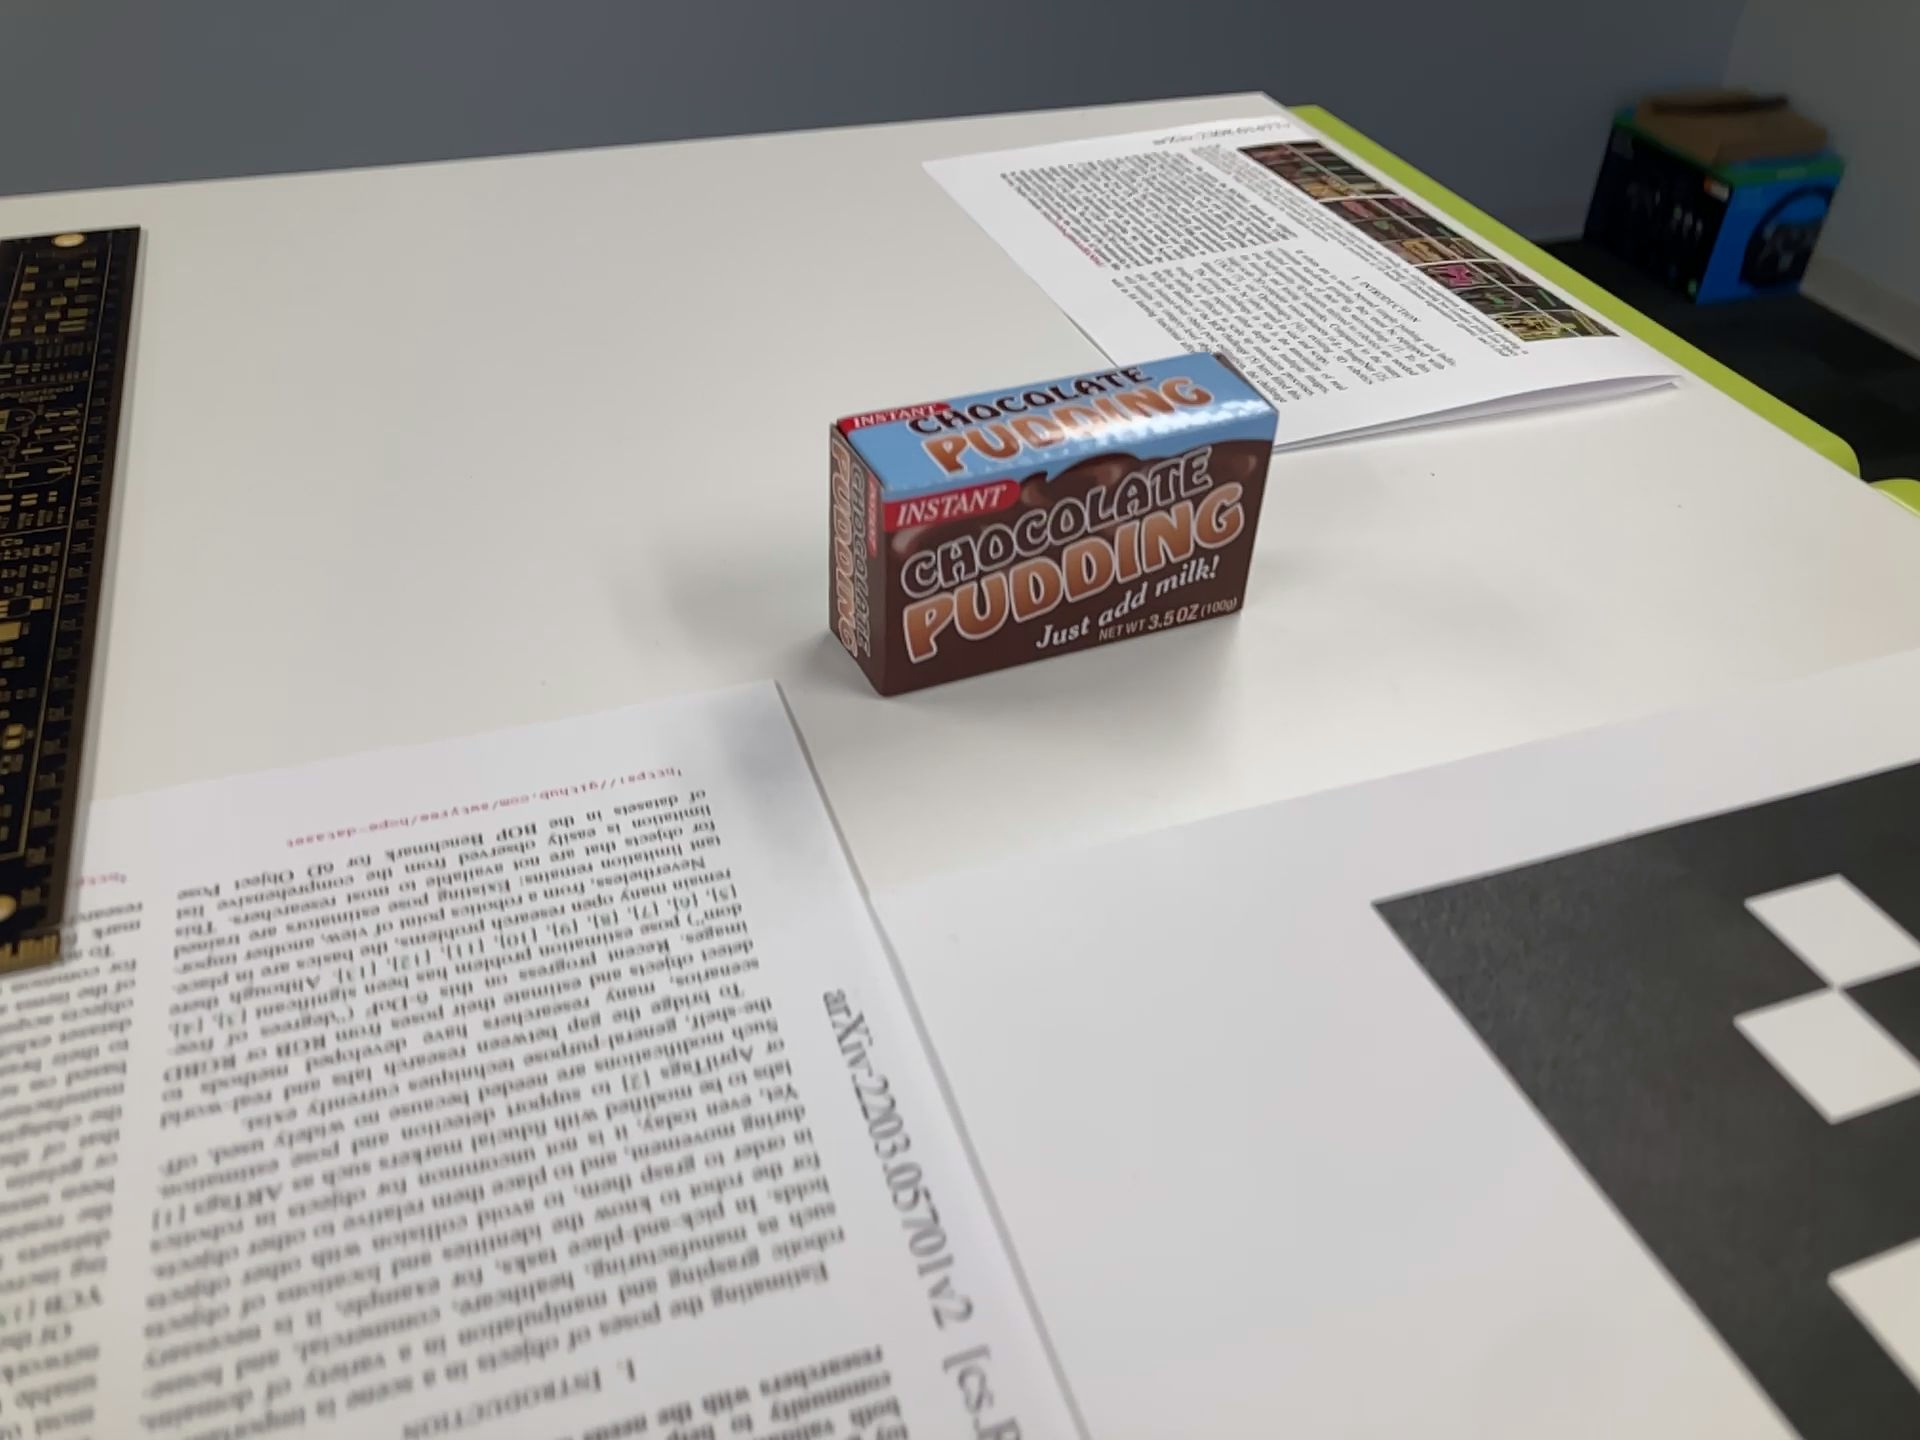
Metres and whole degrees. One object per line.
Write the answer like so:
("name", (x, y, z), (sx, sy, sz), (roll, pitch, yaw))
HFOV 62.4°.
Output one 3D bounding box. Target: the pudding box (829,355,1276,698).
("pudding box", (0.017, -0.040, 0.313), (0.083, 0.049, 0.030), (-14, 42, -20))
